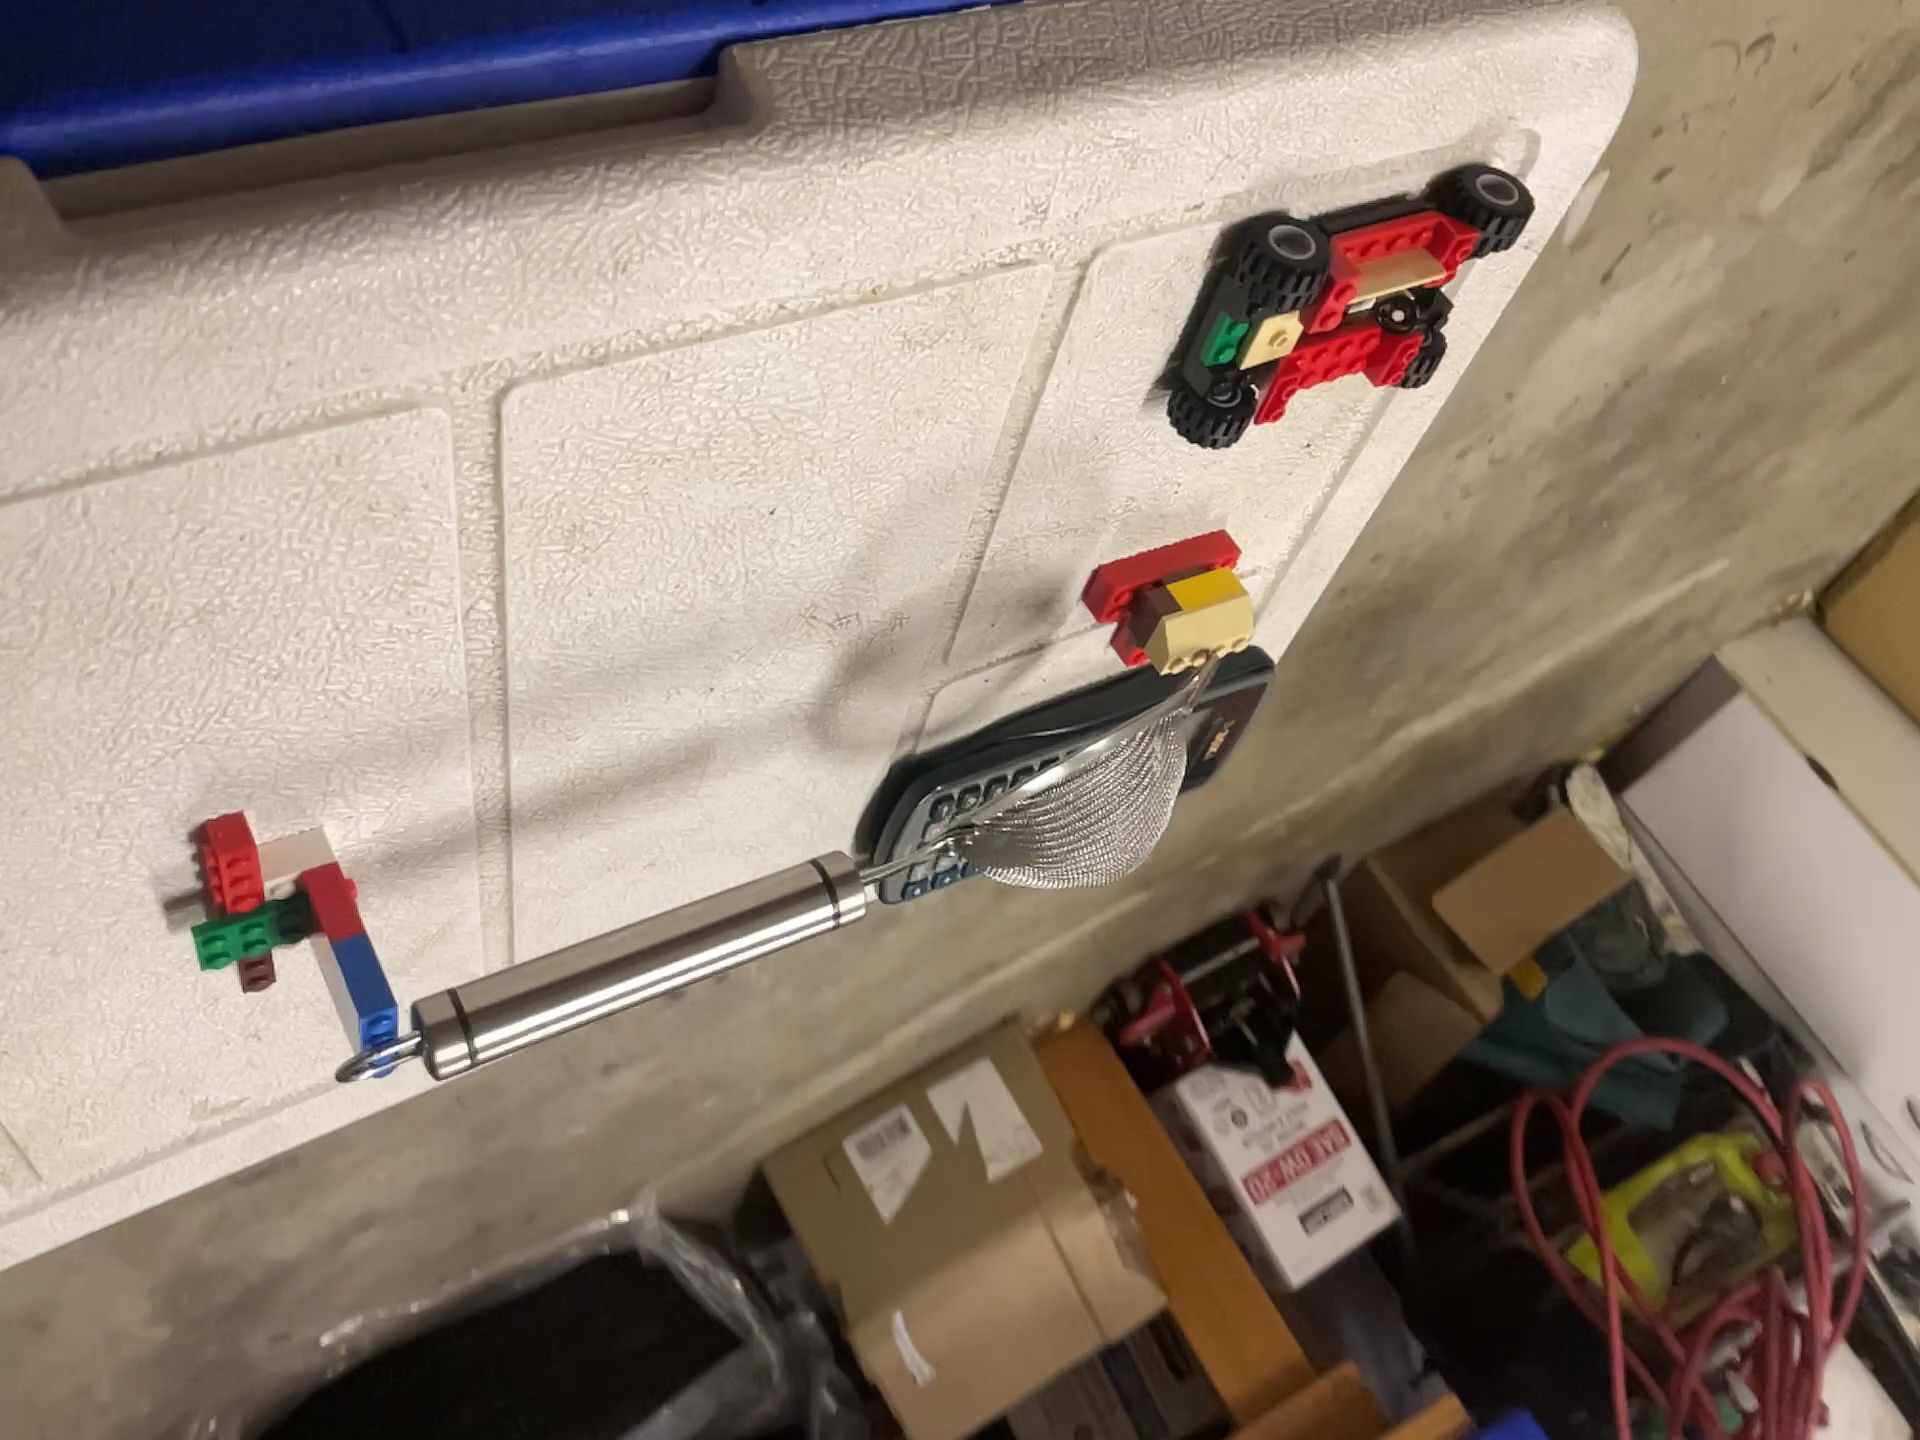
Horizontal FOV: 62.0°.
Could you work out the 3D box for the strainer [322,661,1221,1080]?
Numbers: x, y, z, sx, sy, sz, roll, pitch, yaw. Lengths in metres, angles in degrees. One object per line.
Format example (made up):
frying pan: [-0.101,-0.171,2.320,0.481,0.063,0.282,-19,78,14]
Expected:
strainer: [-0.027,0.042,0.402,0.258,0.050,0.087,-18,169,-26]
